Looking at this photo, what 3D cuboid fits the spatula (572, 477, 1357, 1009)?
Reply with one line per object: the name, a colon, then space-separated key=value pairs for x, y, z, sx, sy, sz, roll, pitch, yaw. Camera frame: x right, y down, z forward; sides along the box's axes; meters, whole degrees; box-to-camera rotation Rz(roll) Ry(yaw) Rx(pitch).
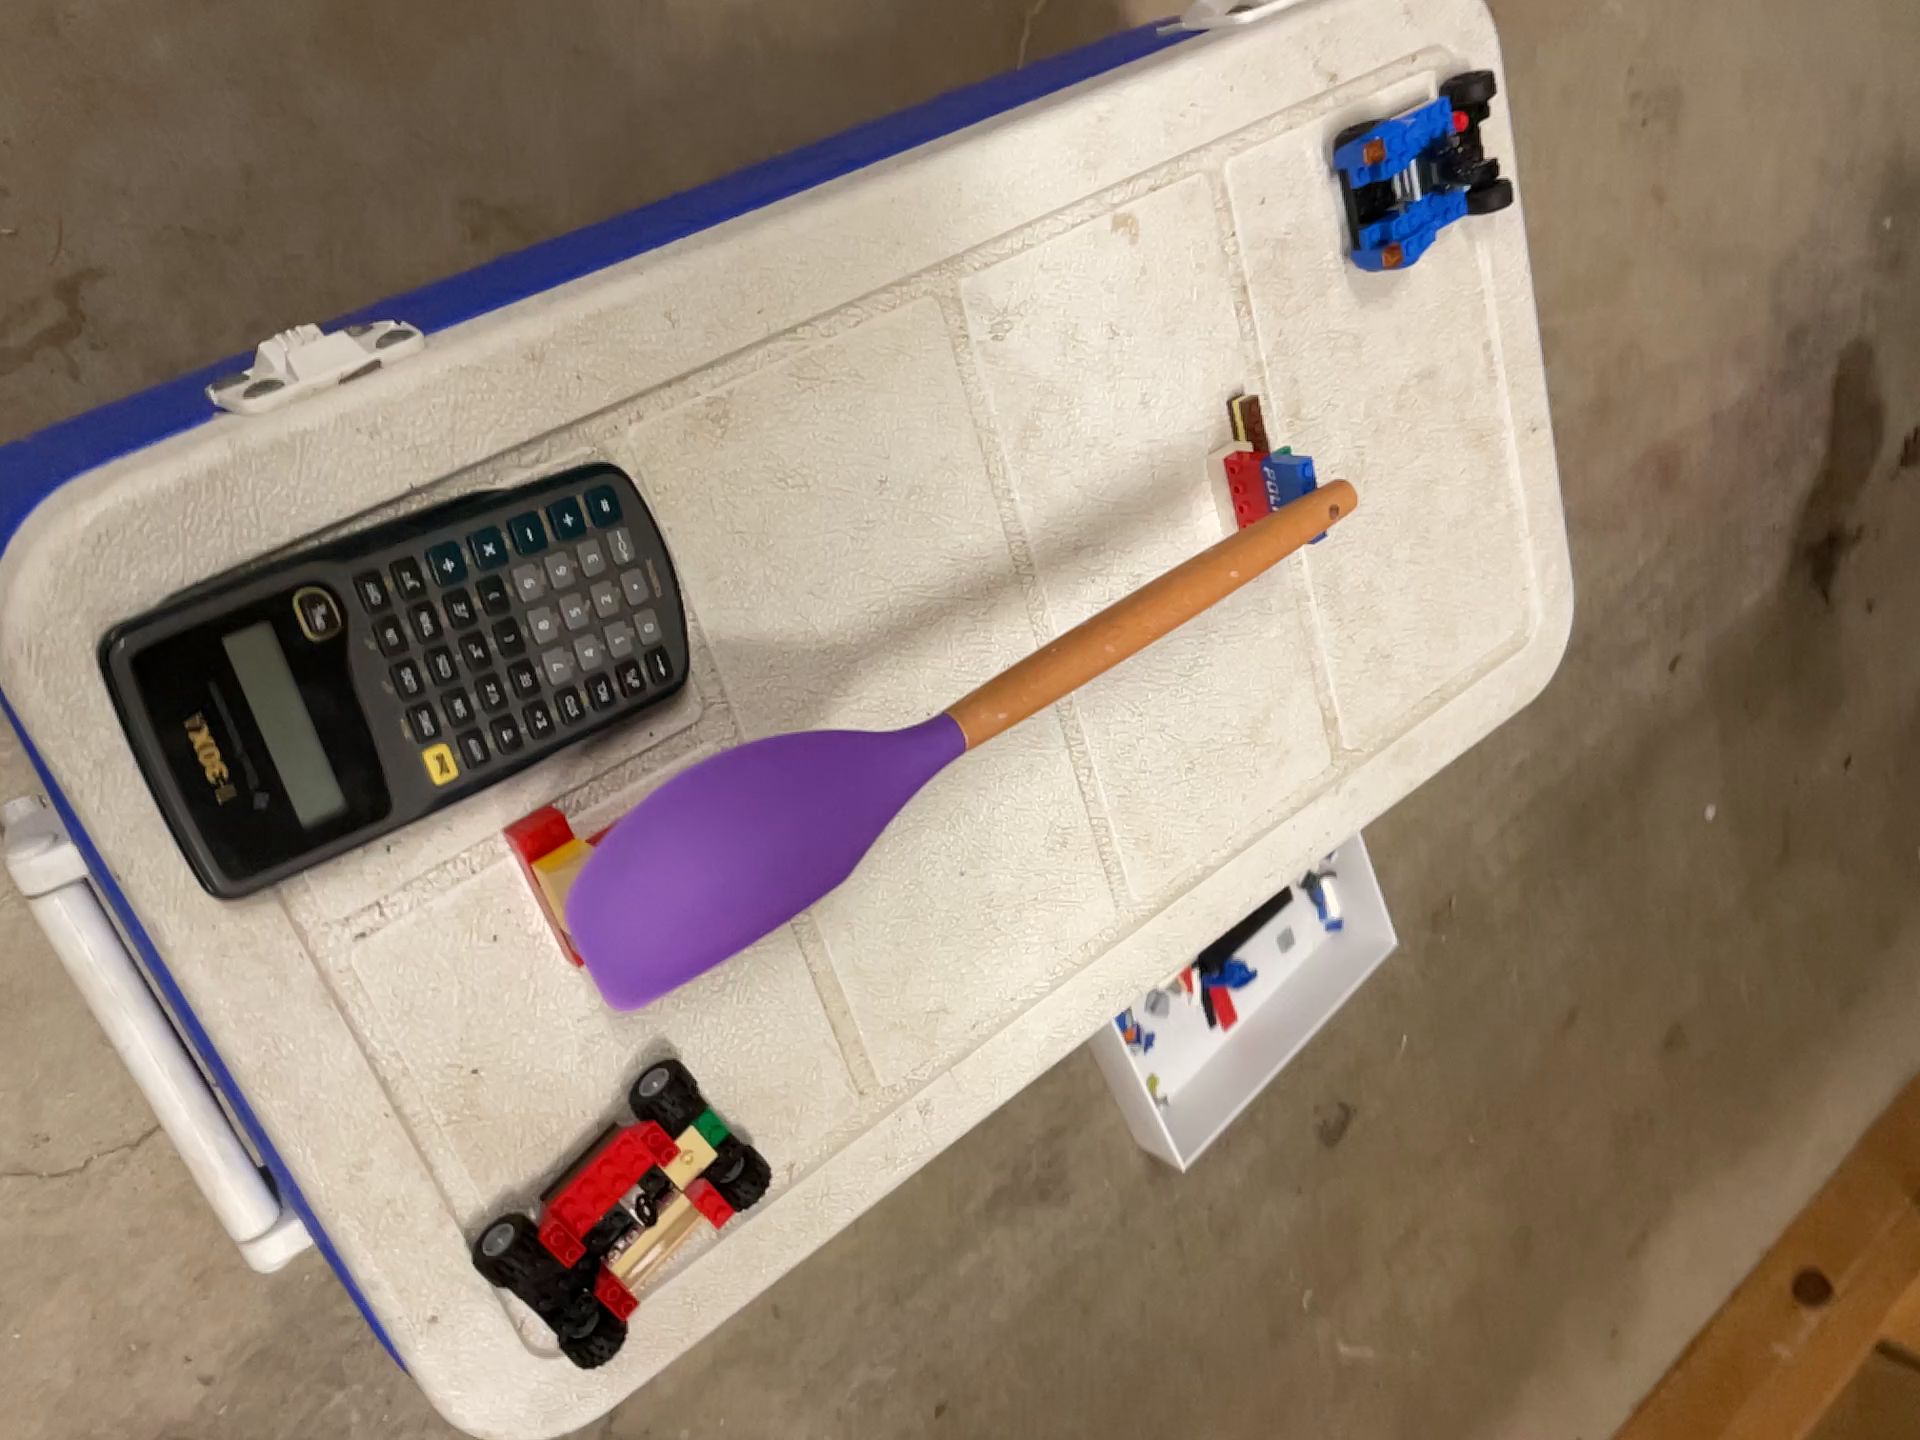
spatula: x=0.018 y=-0.011 z=0.513 sx=0.316 sy=0.018 sz=0.059 roll=-31 pitch=118 yaw=-26
